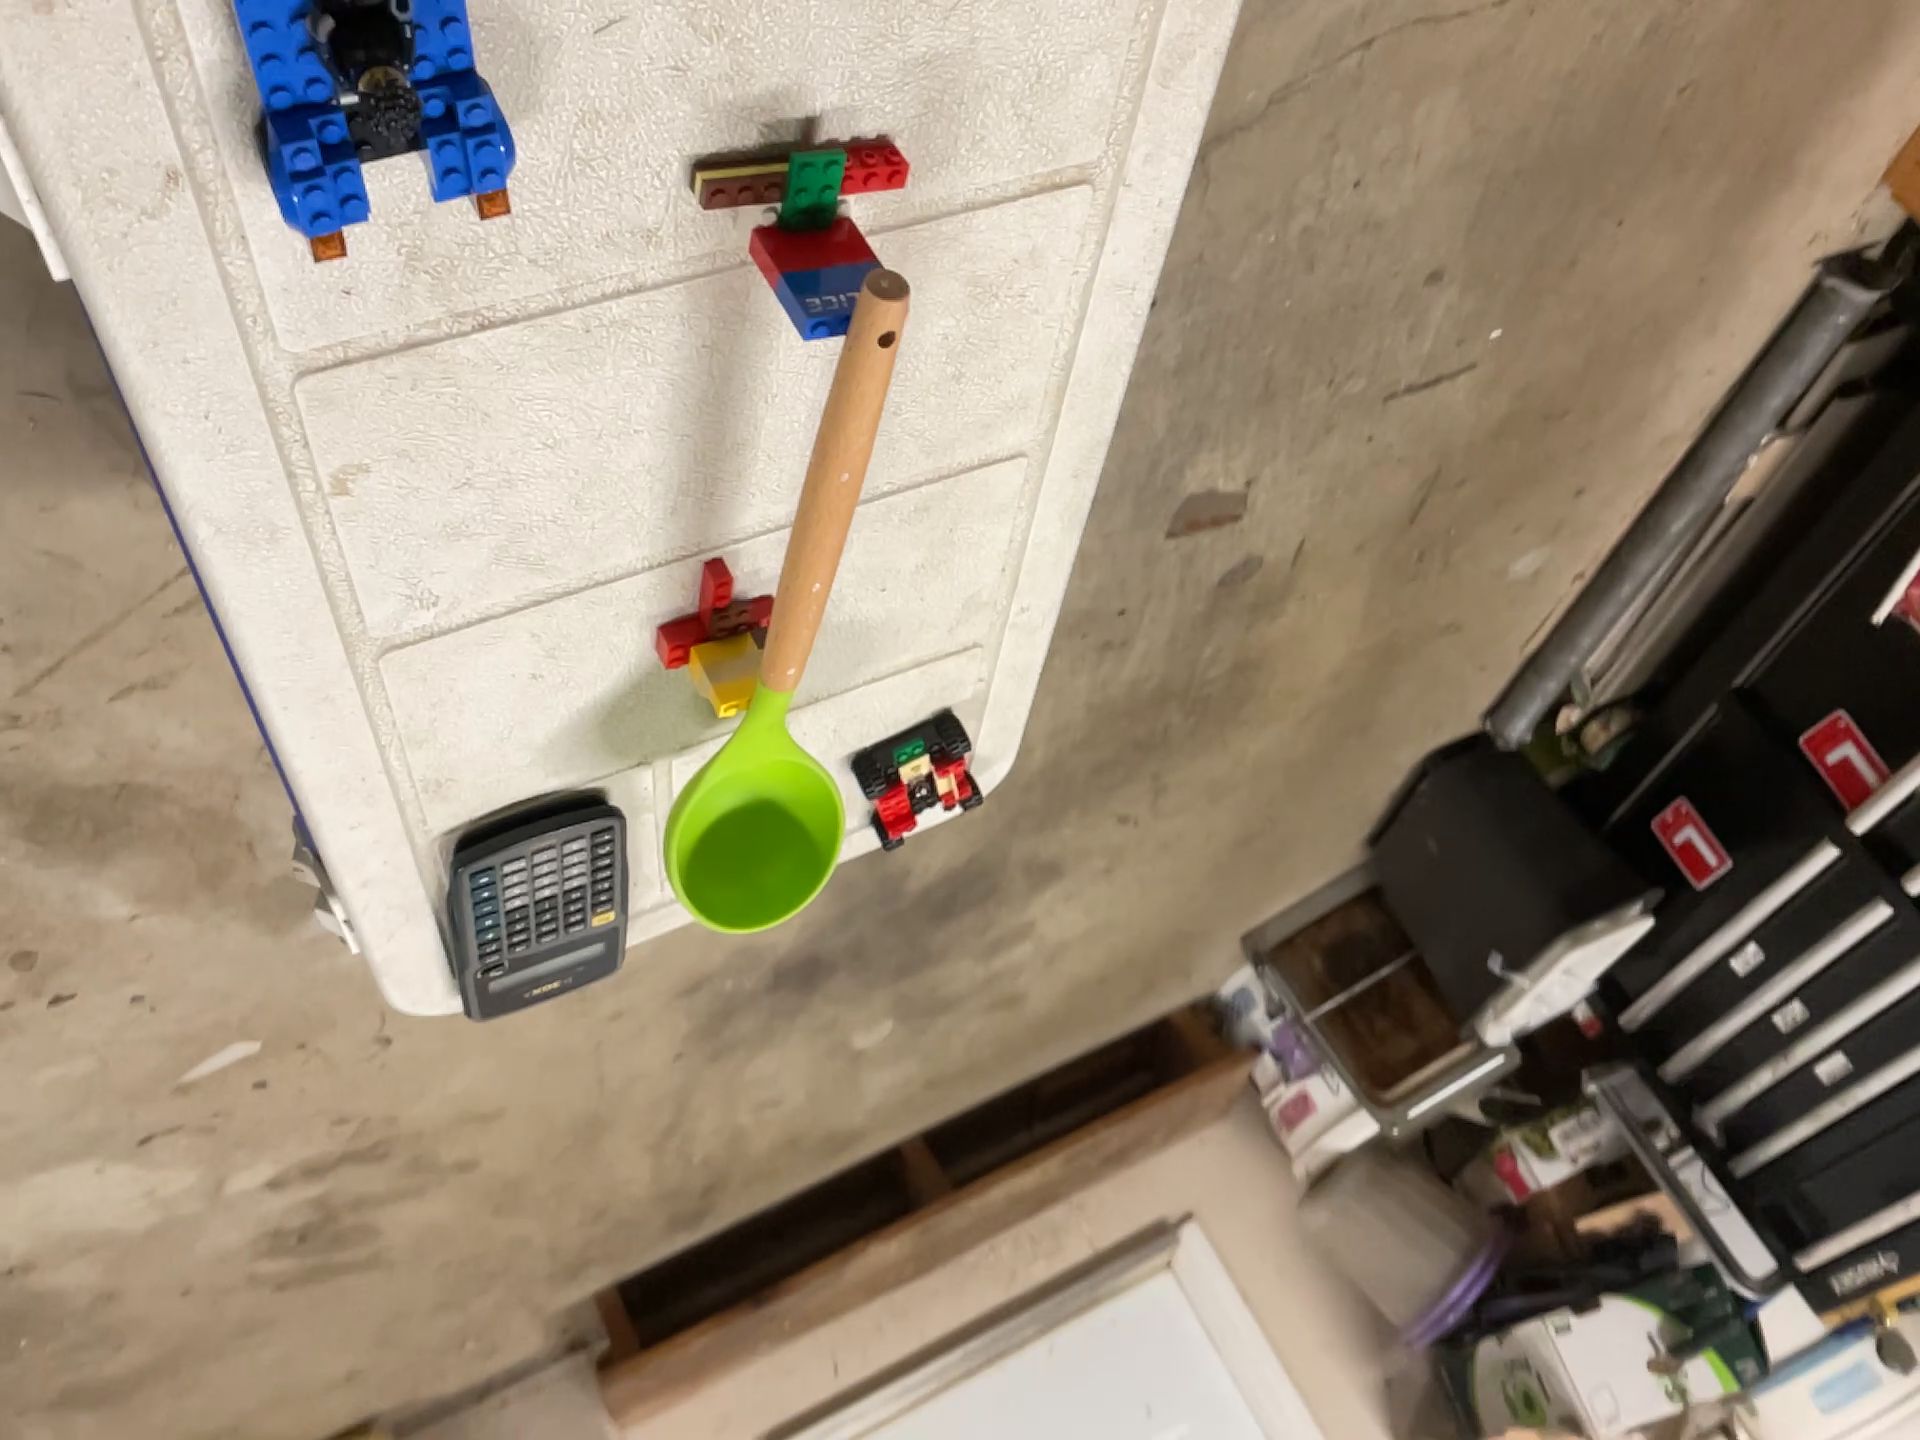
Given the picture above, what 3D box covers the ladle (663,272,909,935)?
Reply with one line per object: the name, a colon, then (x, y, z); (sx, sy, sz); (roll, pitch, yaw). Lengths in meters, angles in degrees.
ladle: (-0.054, -0.021, 0.554); (0.078, 0.062, 0.319); (-16, 153, -26)
